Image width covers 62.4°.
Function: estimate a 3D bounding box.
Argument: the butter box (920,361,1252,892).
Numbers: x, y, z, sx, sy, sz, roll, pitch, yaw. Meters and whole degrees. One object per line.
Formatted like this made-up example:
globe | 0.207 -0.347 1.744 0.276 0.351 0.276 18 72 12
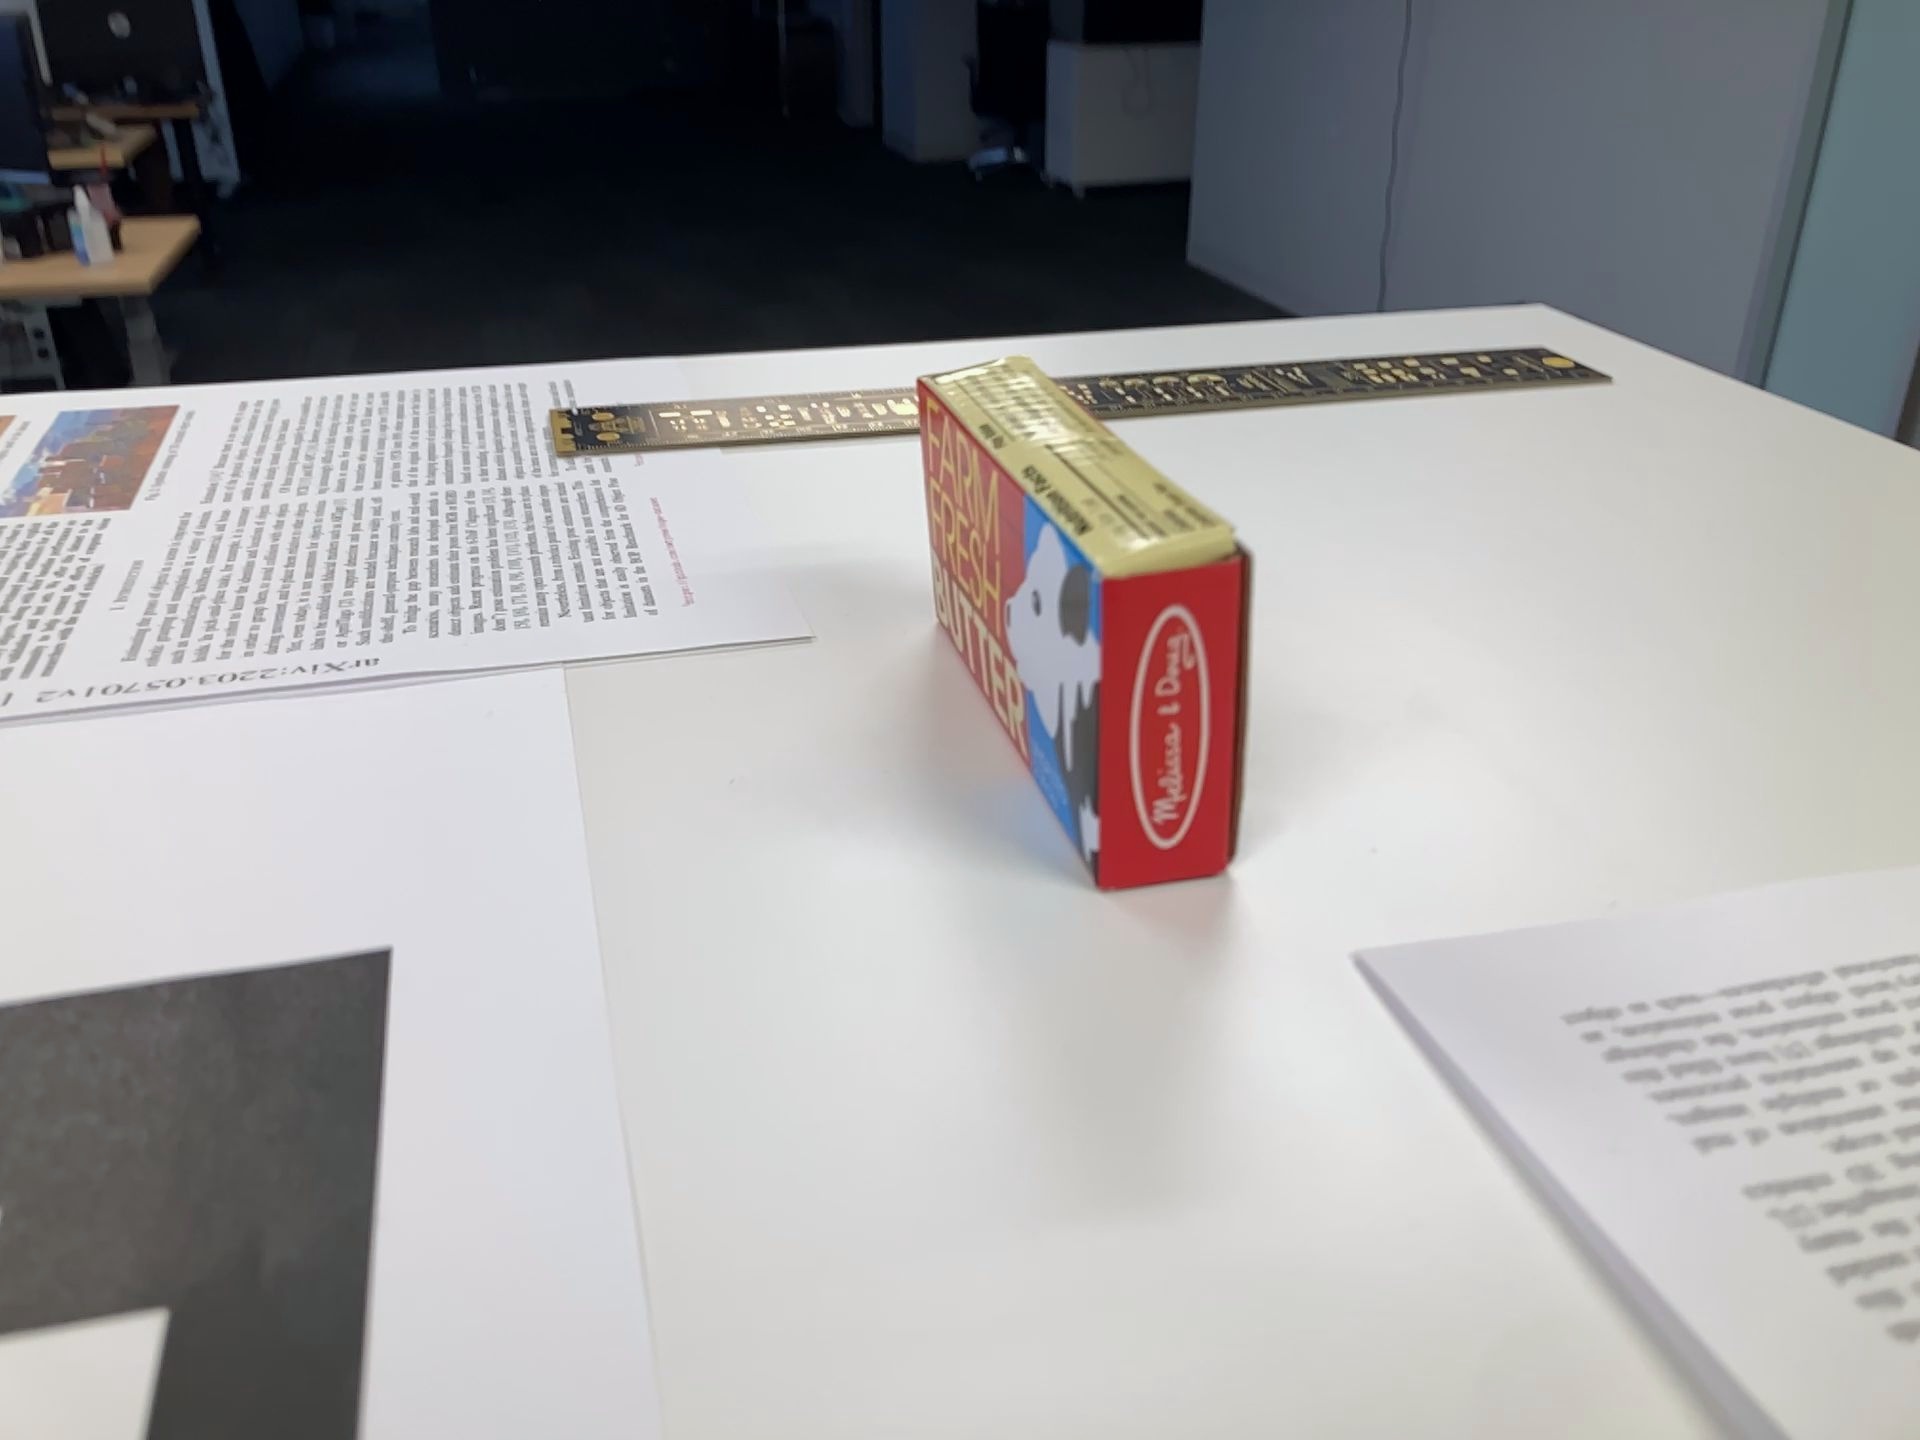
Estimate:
butter box | 0.017 -0.021 0.266 0.024 0.053 0.103 -9 28 -12
